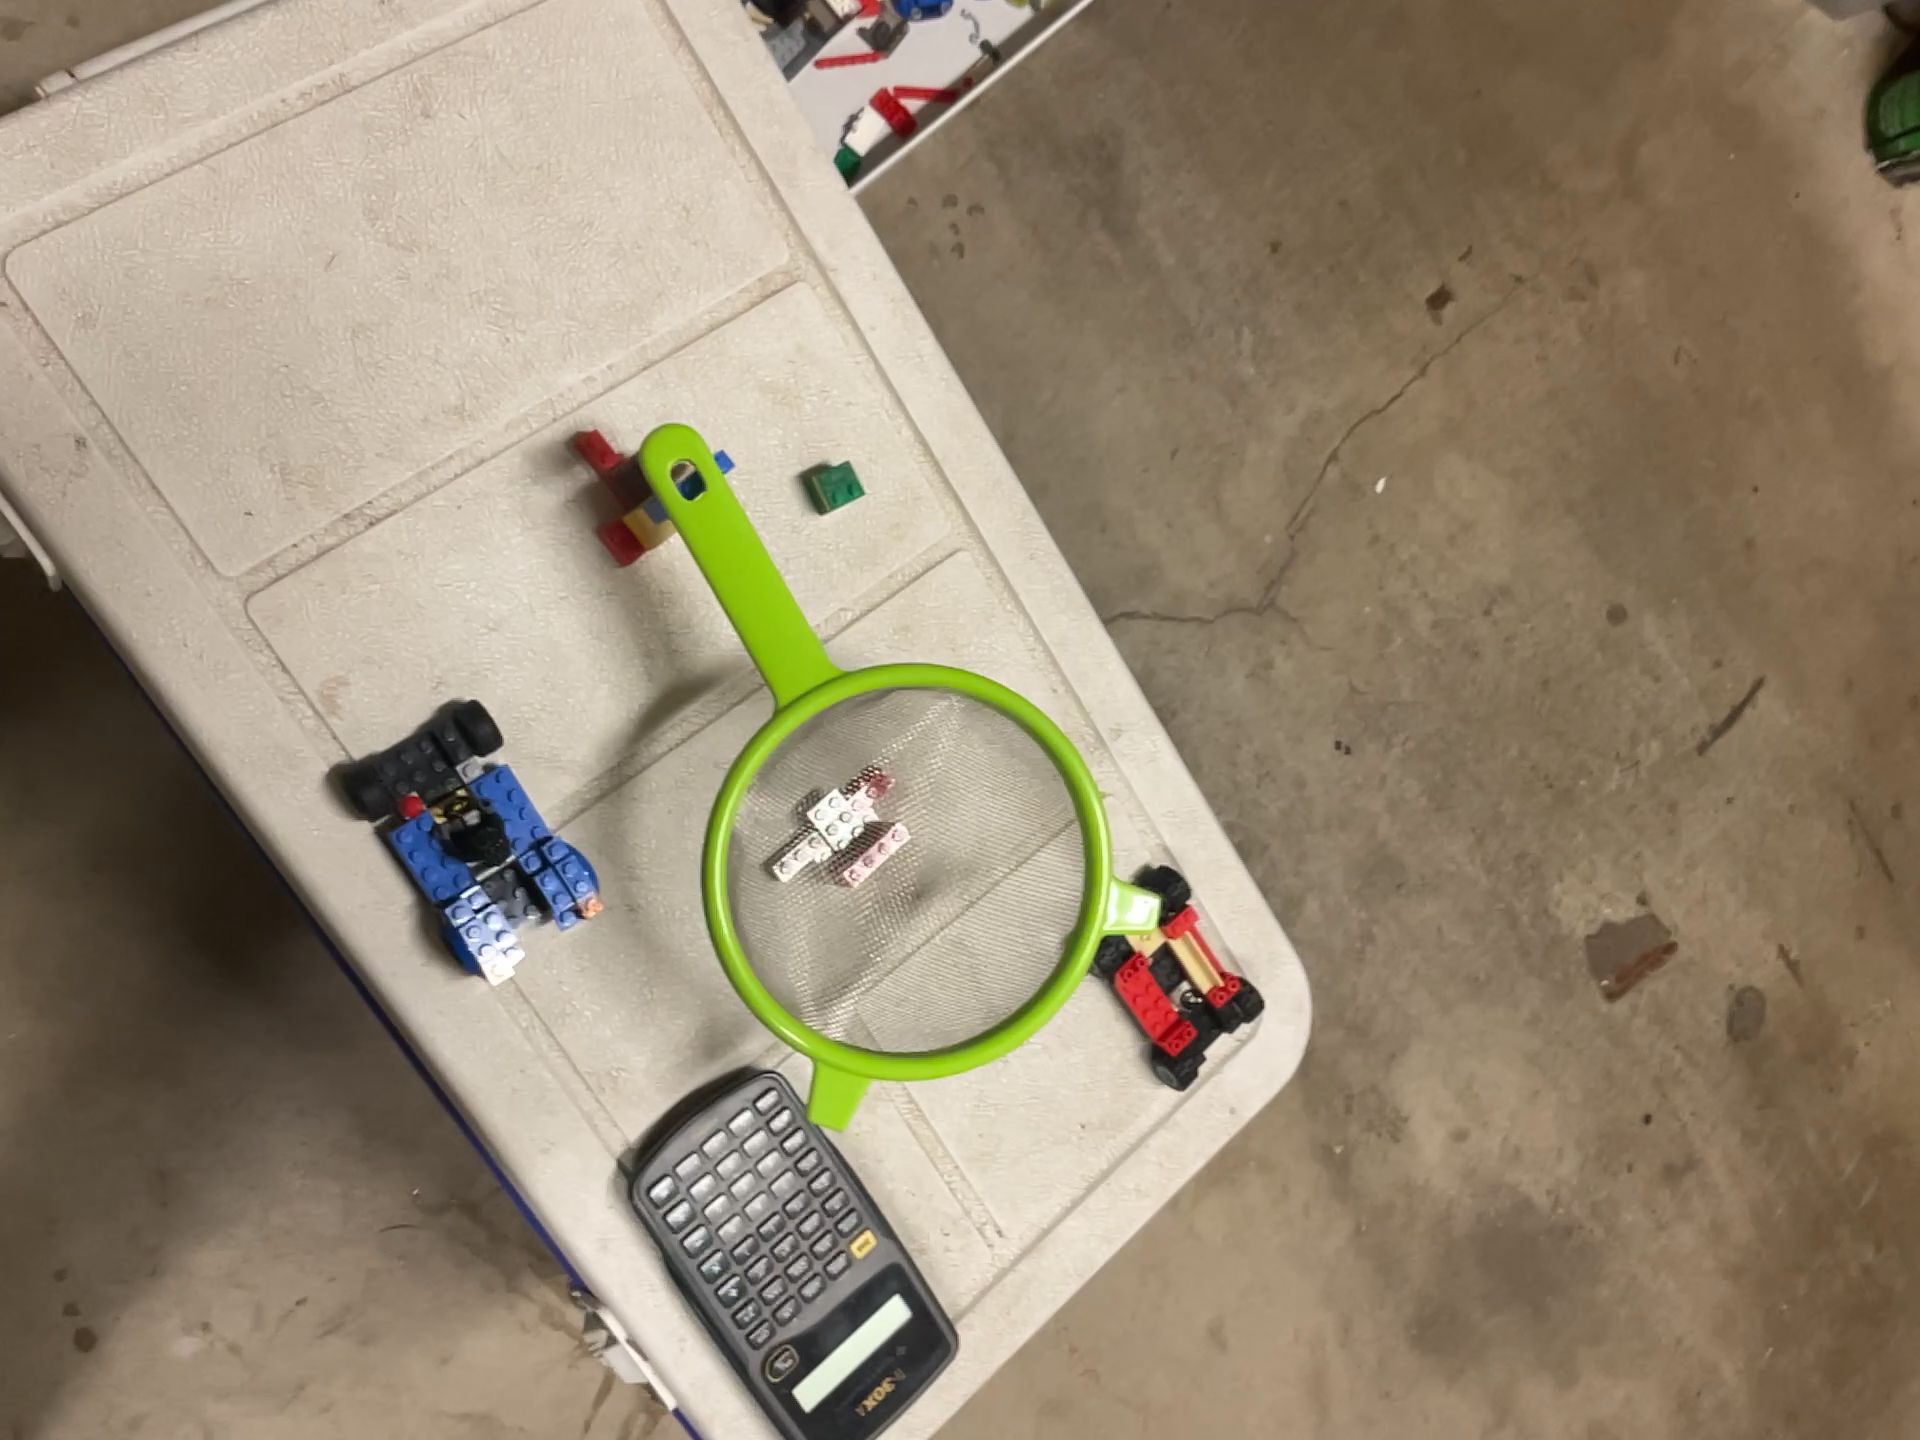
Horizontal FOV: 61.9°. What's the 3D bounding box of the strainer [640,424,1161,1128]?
[{"bbox_3d":[-0.049,0.009,0.601,0.151,0.069,0.256,-30,93,-11],"label":"strainer"}]
